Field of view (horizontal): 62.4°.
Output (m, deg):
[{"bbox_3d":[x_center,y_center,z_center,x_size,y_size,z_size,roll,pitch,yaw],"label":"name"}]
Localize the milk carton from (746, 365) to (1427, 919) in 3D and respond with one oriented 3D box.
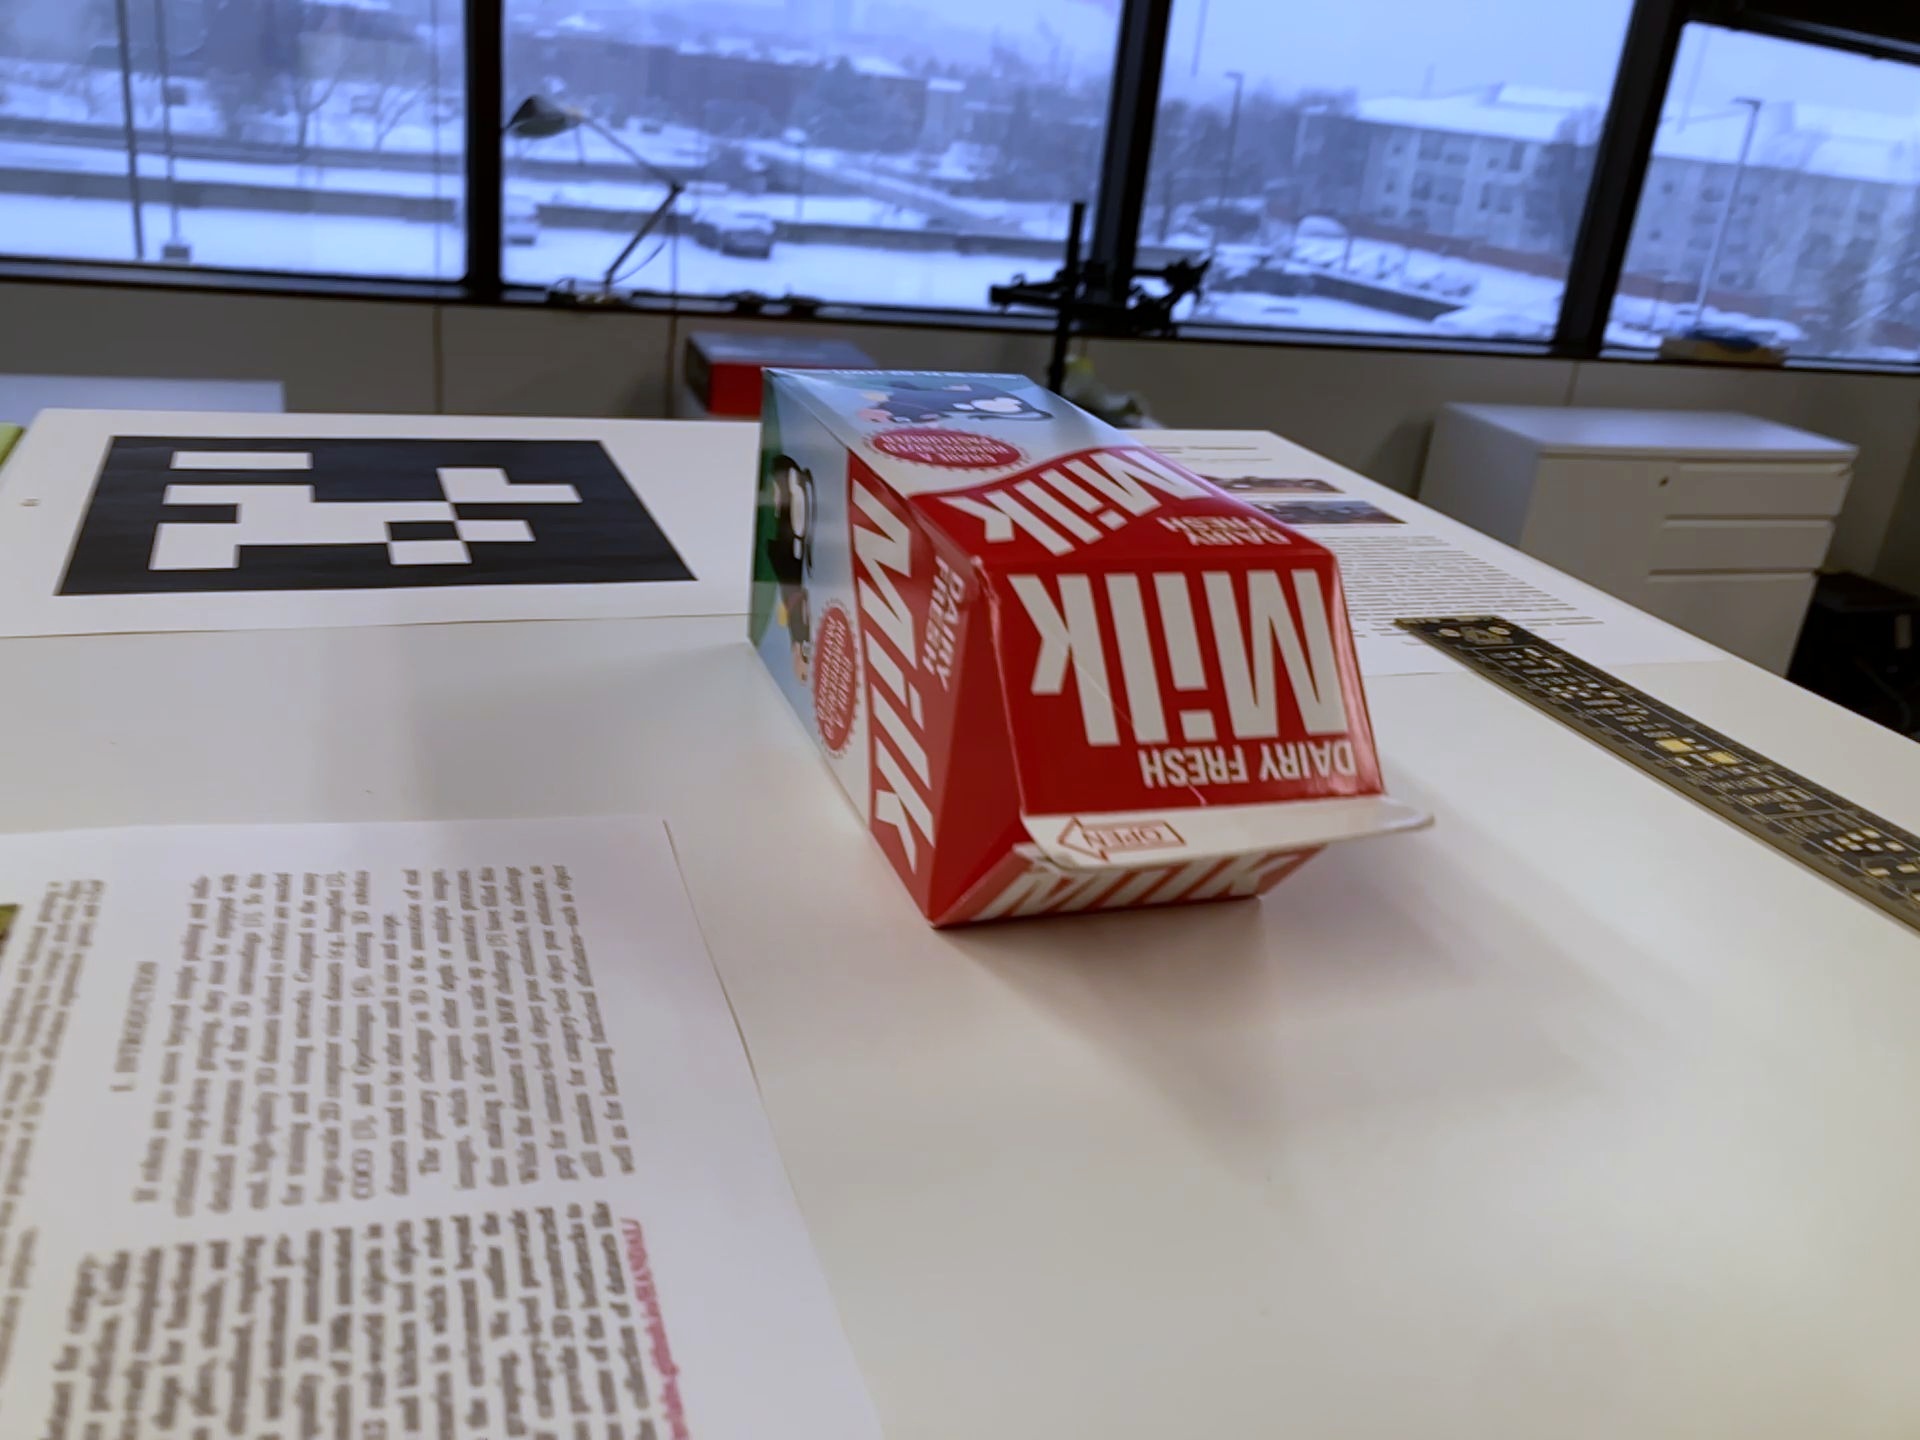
[{"bbox_3d":[0.013,-0.018,0.330,0.072,0.073,0.190,-2,24,-22],"label":"milk carton"}]
